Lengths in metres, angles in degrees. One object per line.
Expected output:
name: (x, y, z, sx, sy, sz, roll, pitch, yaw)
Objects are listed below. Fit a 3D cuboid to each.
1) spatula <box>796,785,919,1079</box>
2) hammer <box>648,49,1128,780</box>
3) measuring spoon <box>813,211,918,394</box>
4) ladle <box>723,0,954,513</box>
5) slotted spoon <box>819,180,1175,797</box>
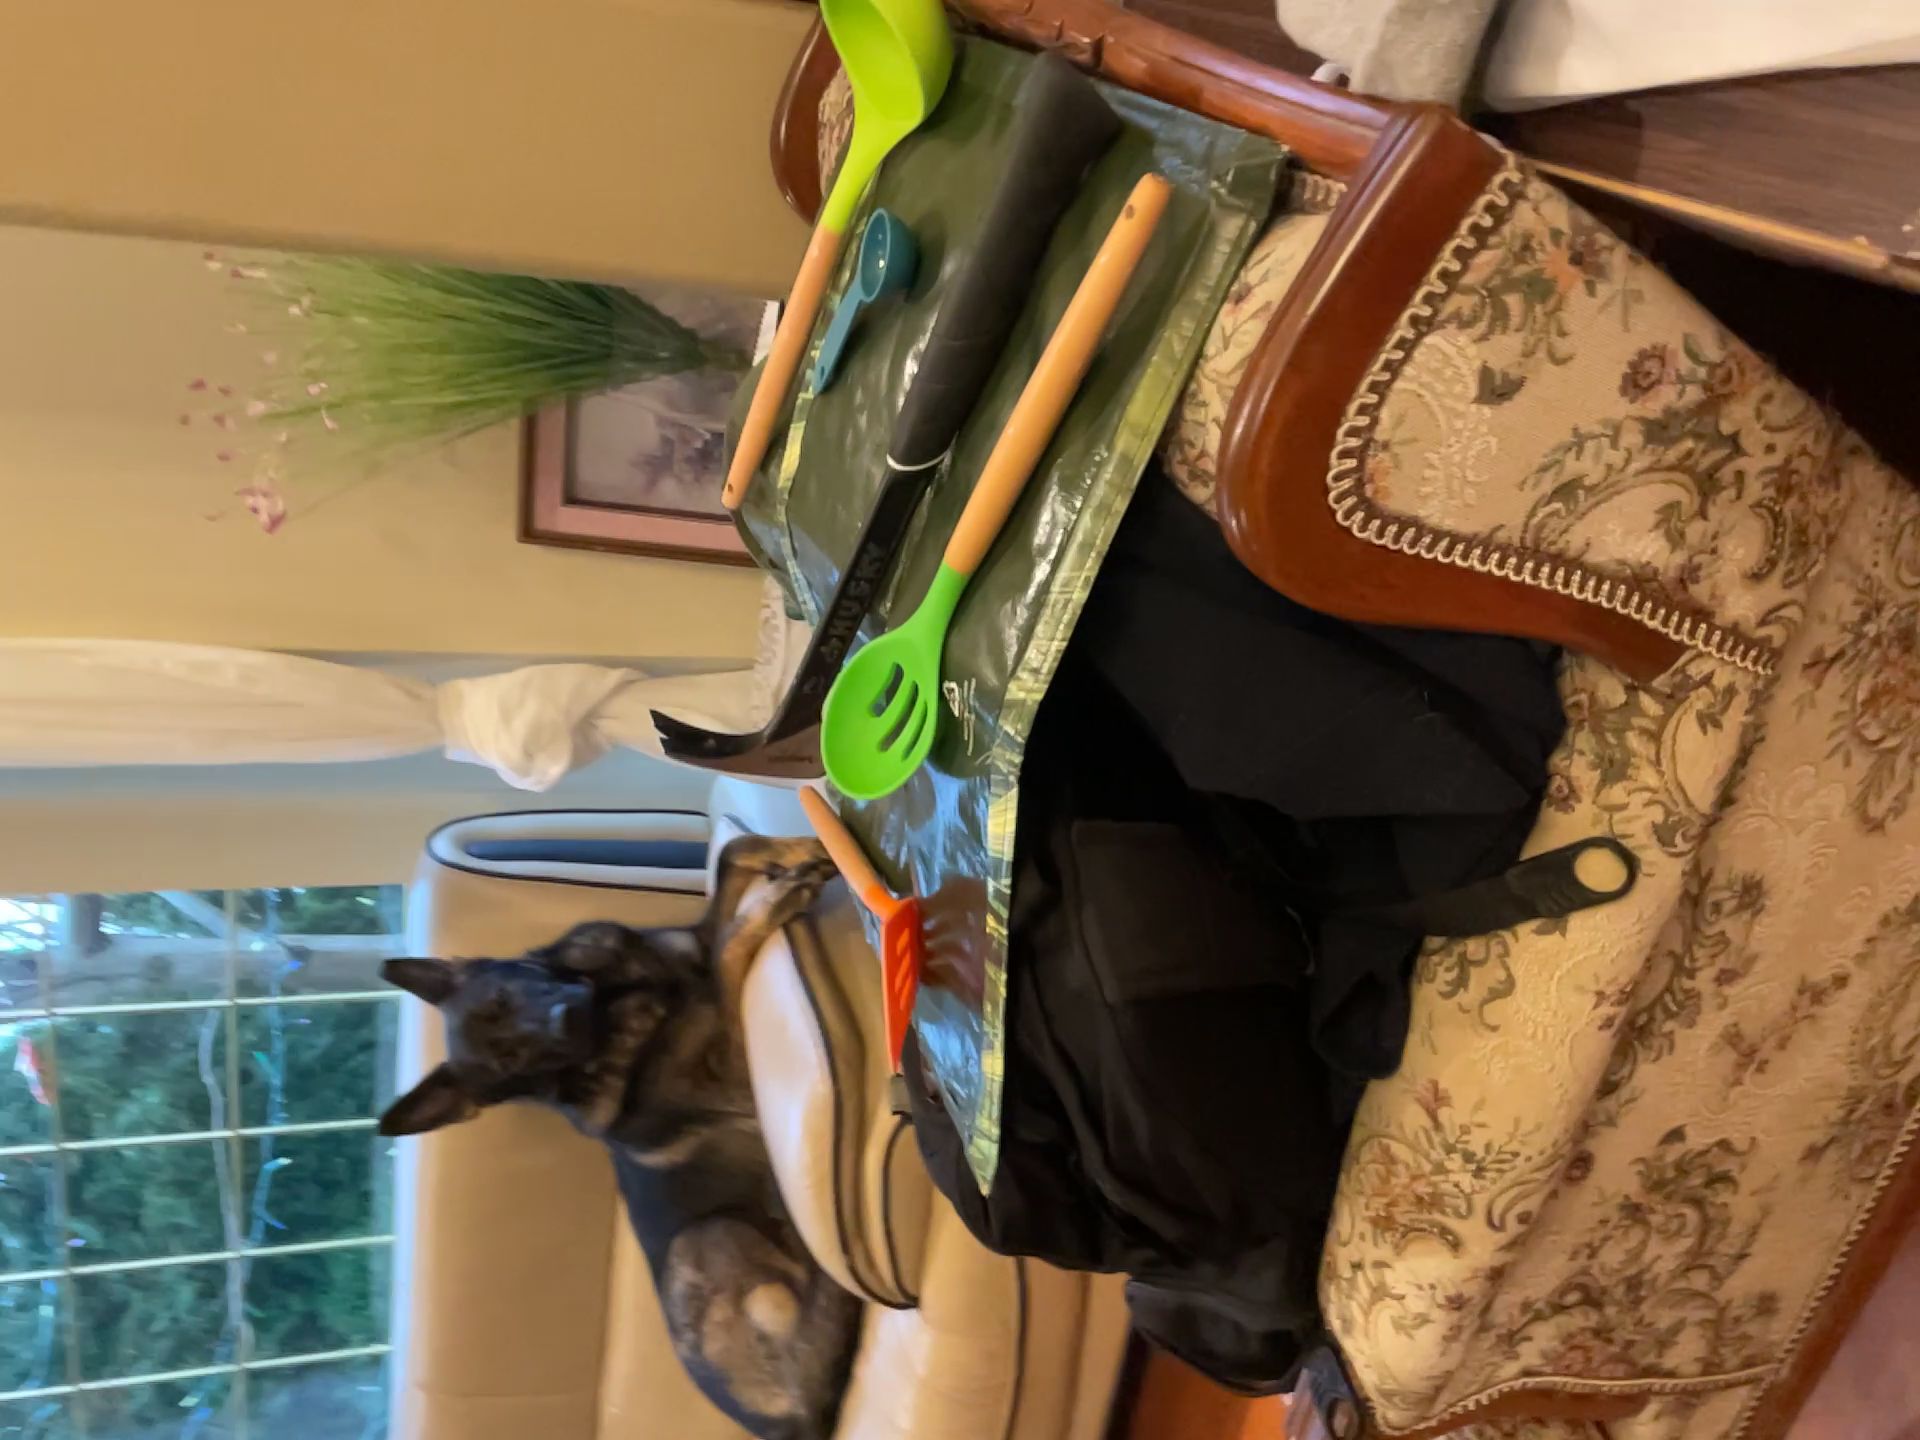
spatula: (-0.064, 0.095, 0.917, 0.323, 0.041, 0.081, -137, 43, -66)
hammer: (-0.029, -0.114, 0.741, 0.036, 0.149, 0.409, 62, 139, 35)
measuring spoon: (-0.047, -0.200, 0.787, 0.128, 0.021, 0.042, 132, 136, -58)
ladle: (-0.082, -0.231, 0.822, 0.078, 0.062, 0.320, 49, 133, 23)
slotted spoon: (0.012, -0.085, 0.675, 0.070, 0.031, 0.313, 56, 133, 31)
